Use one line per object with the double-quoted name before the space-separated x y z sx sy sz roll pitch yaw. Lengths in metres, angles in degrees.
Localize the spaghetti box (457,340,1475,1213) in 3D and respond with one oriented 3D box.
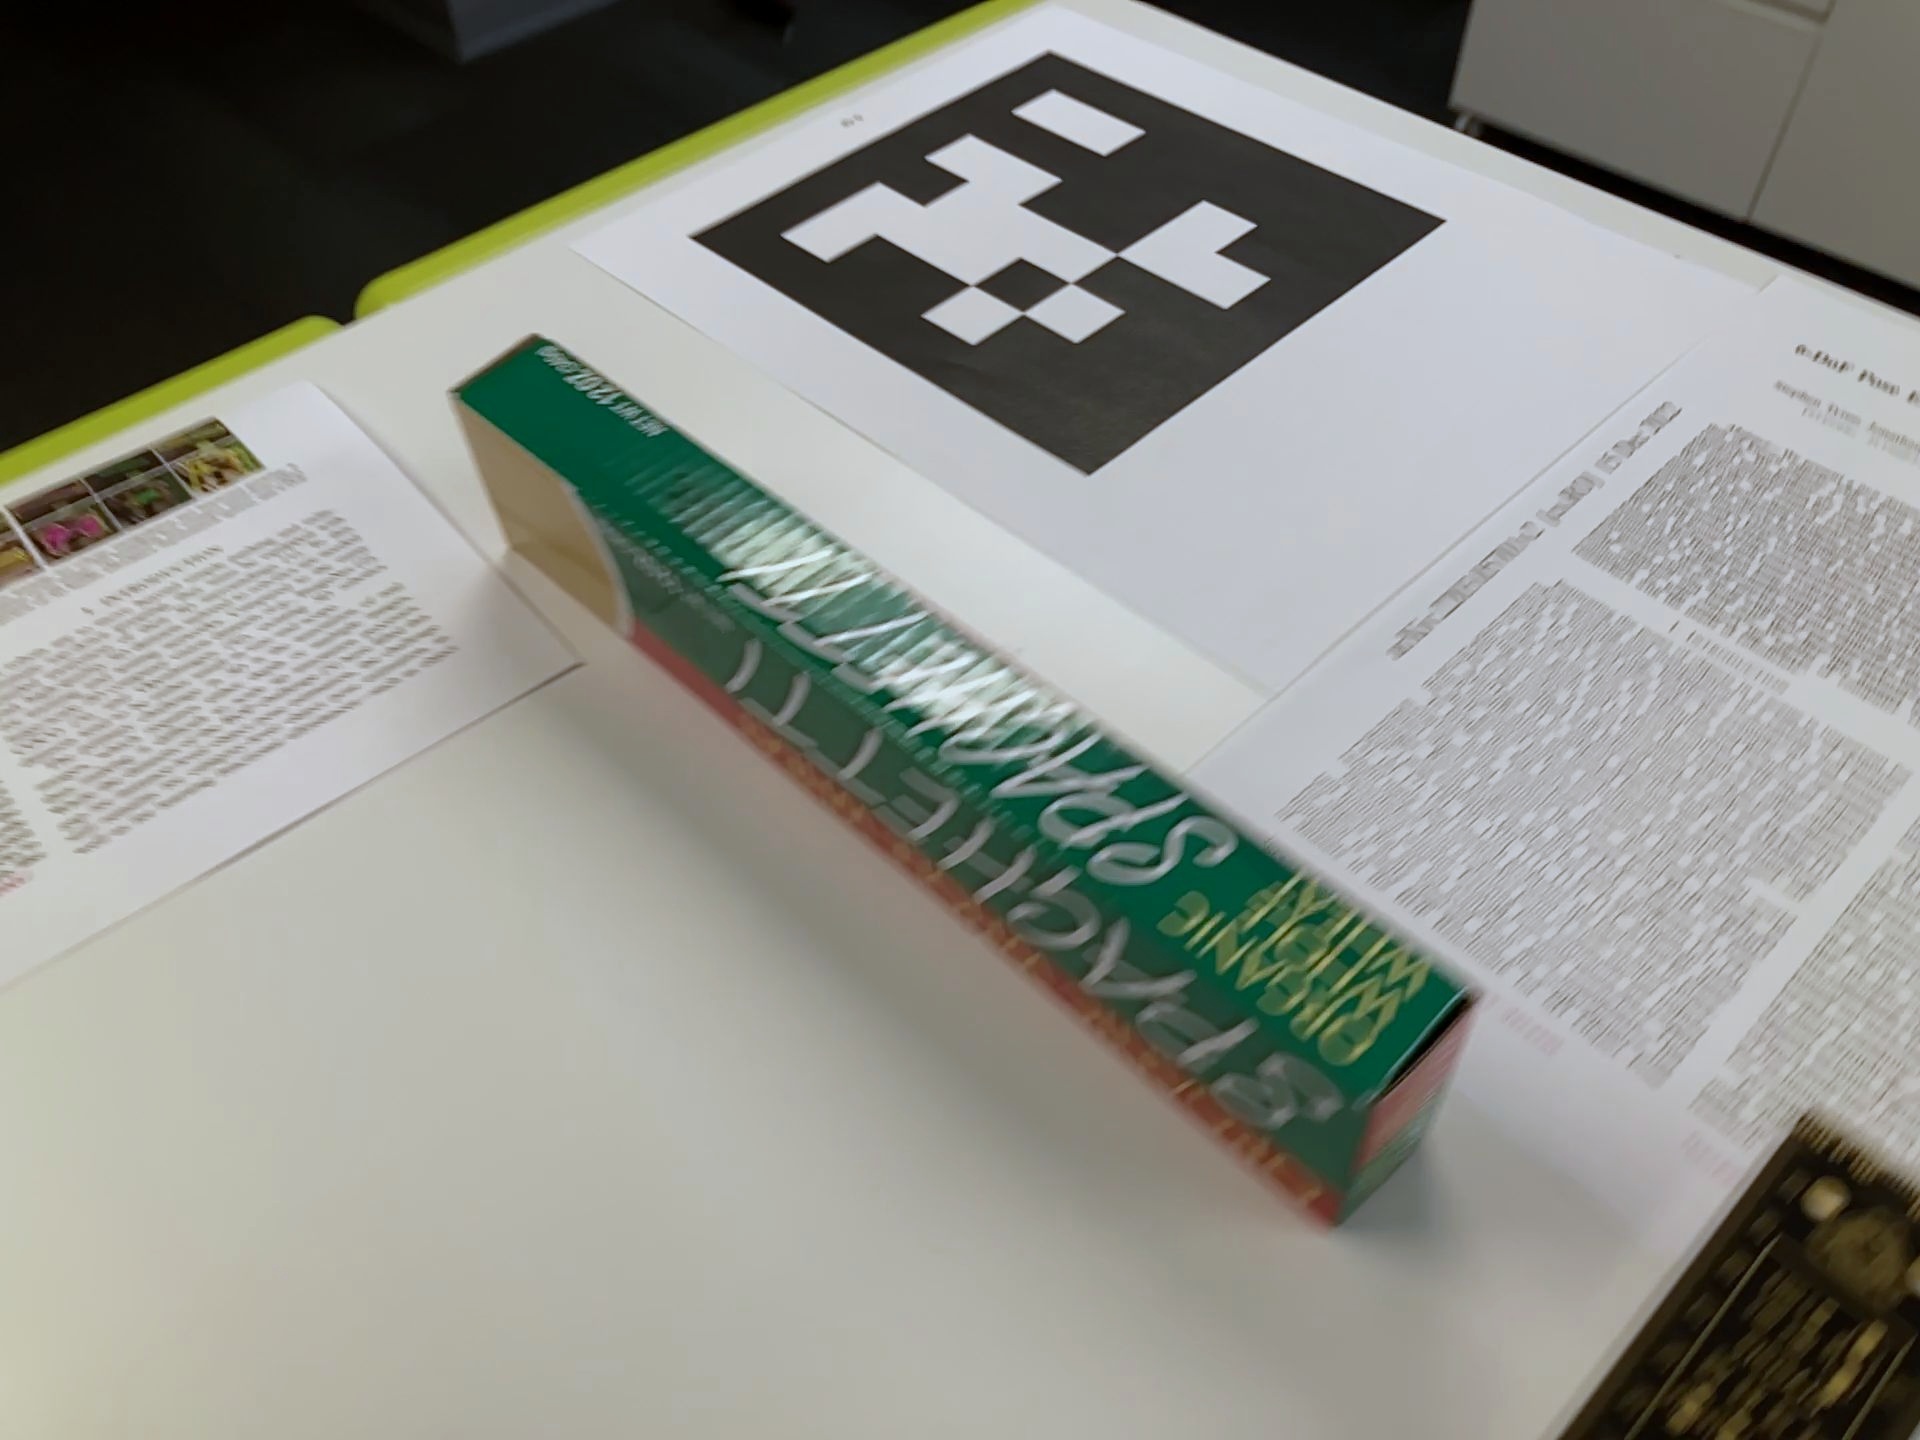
"spaghetti box" -0.014 -0.001 0.316 0.028 0.050 0.250 -40 59 -24
